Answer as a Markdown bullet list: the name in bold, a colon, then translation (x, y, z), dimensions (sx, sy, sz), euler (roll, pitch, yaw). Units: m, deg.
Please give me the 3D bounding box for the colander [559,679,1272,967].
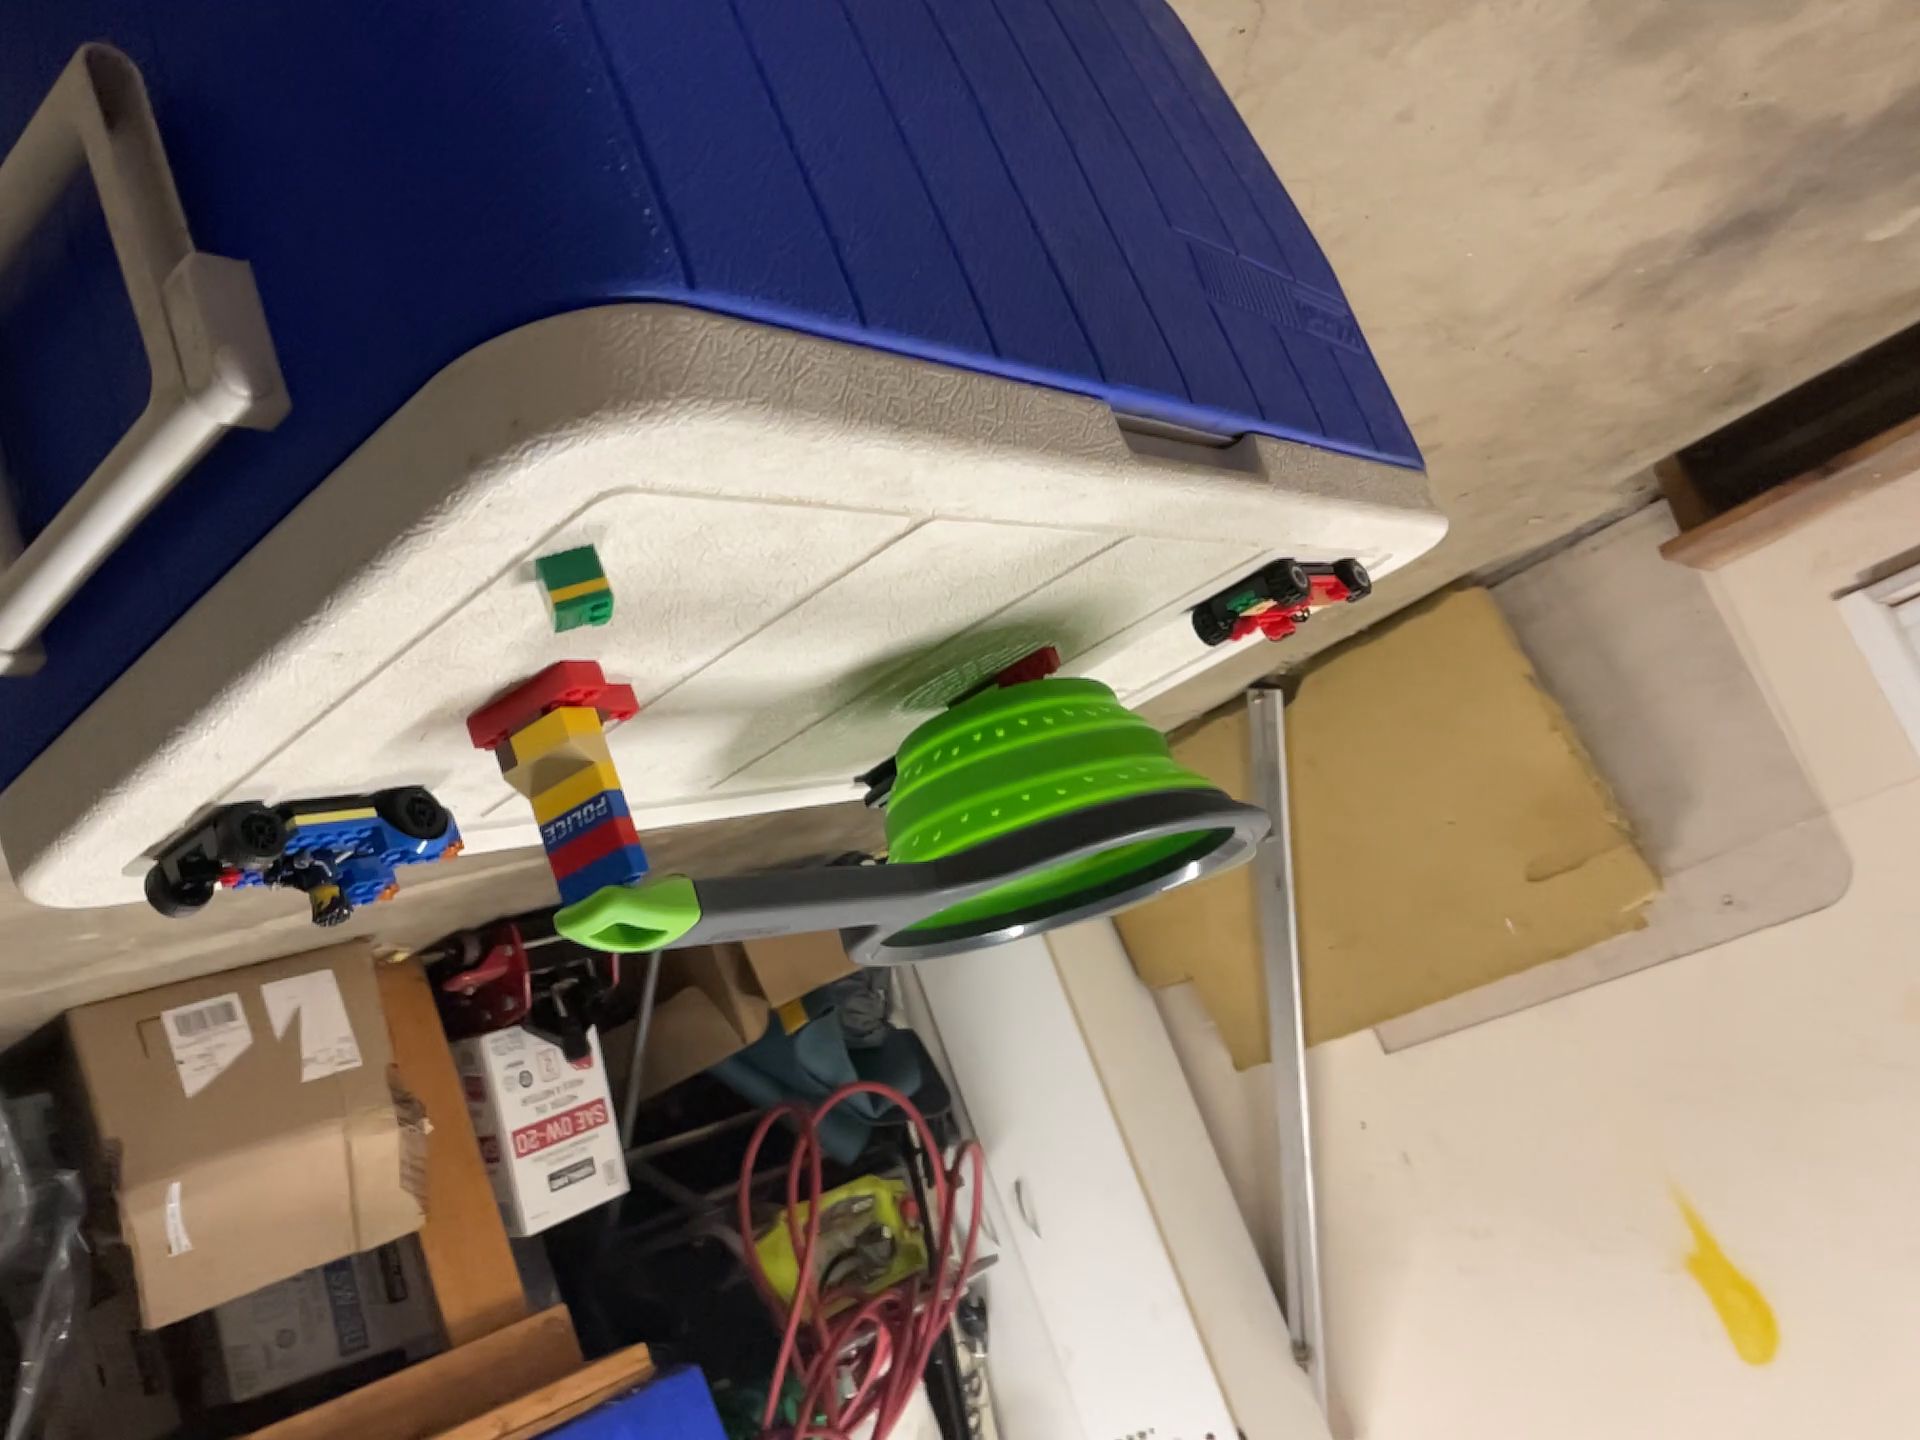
- **colander**: translation (-0.014, 0.038, 0.680), dimensions (0.204, 0.094, 0.397), euler (-26, 163, 32)
